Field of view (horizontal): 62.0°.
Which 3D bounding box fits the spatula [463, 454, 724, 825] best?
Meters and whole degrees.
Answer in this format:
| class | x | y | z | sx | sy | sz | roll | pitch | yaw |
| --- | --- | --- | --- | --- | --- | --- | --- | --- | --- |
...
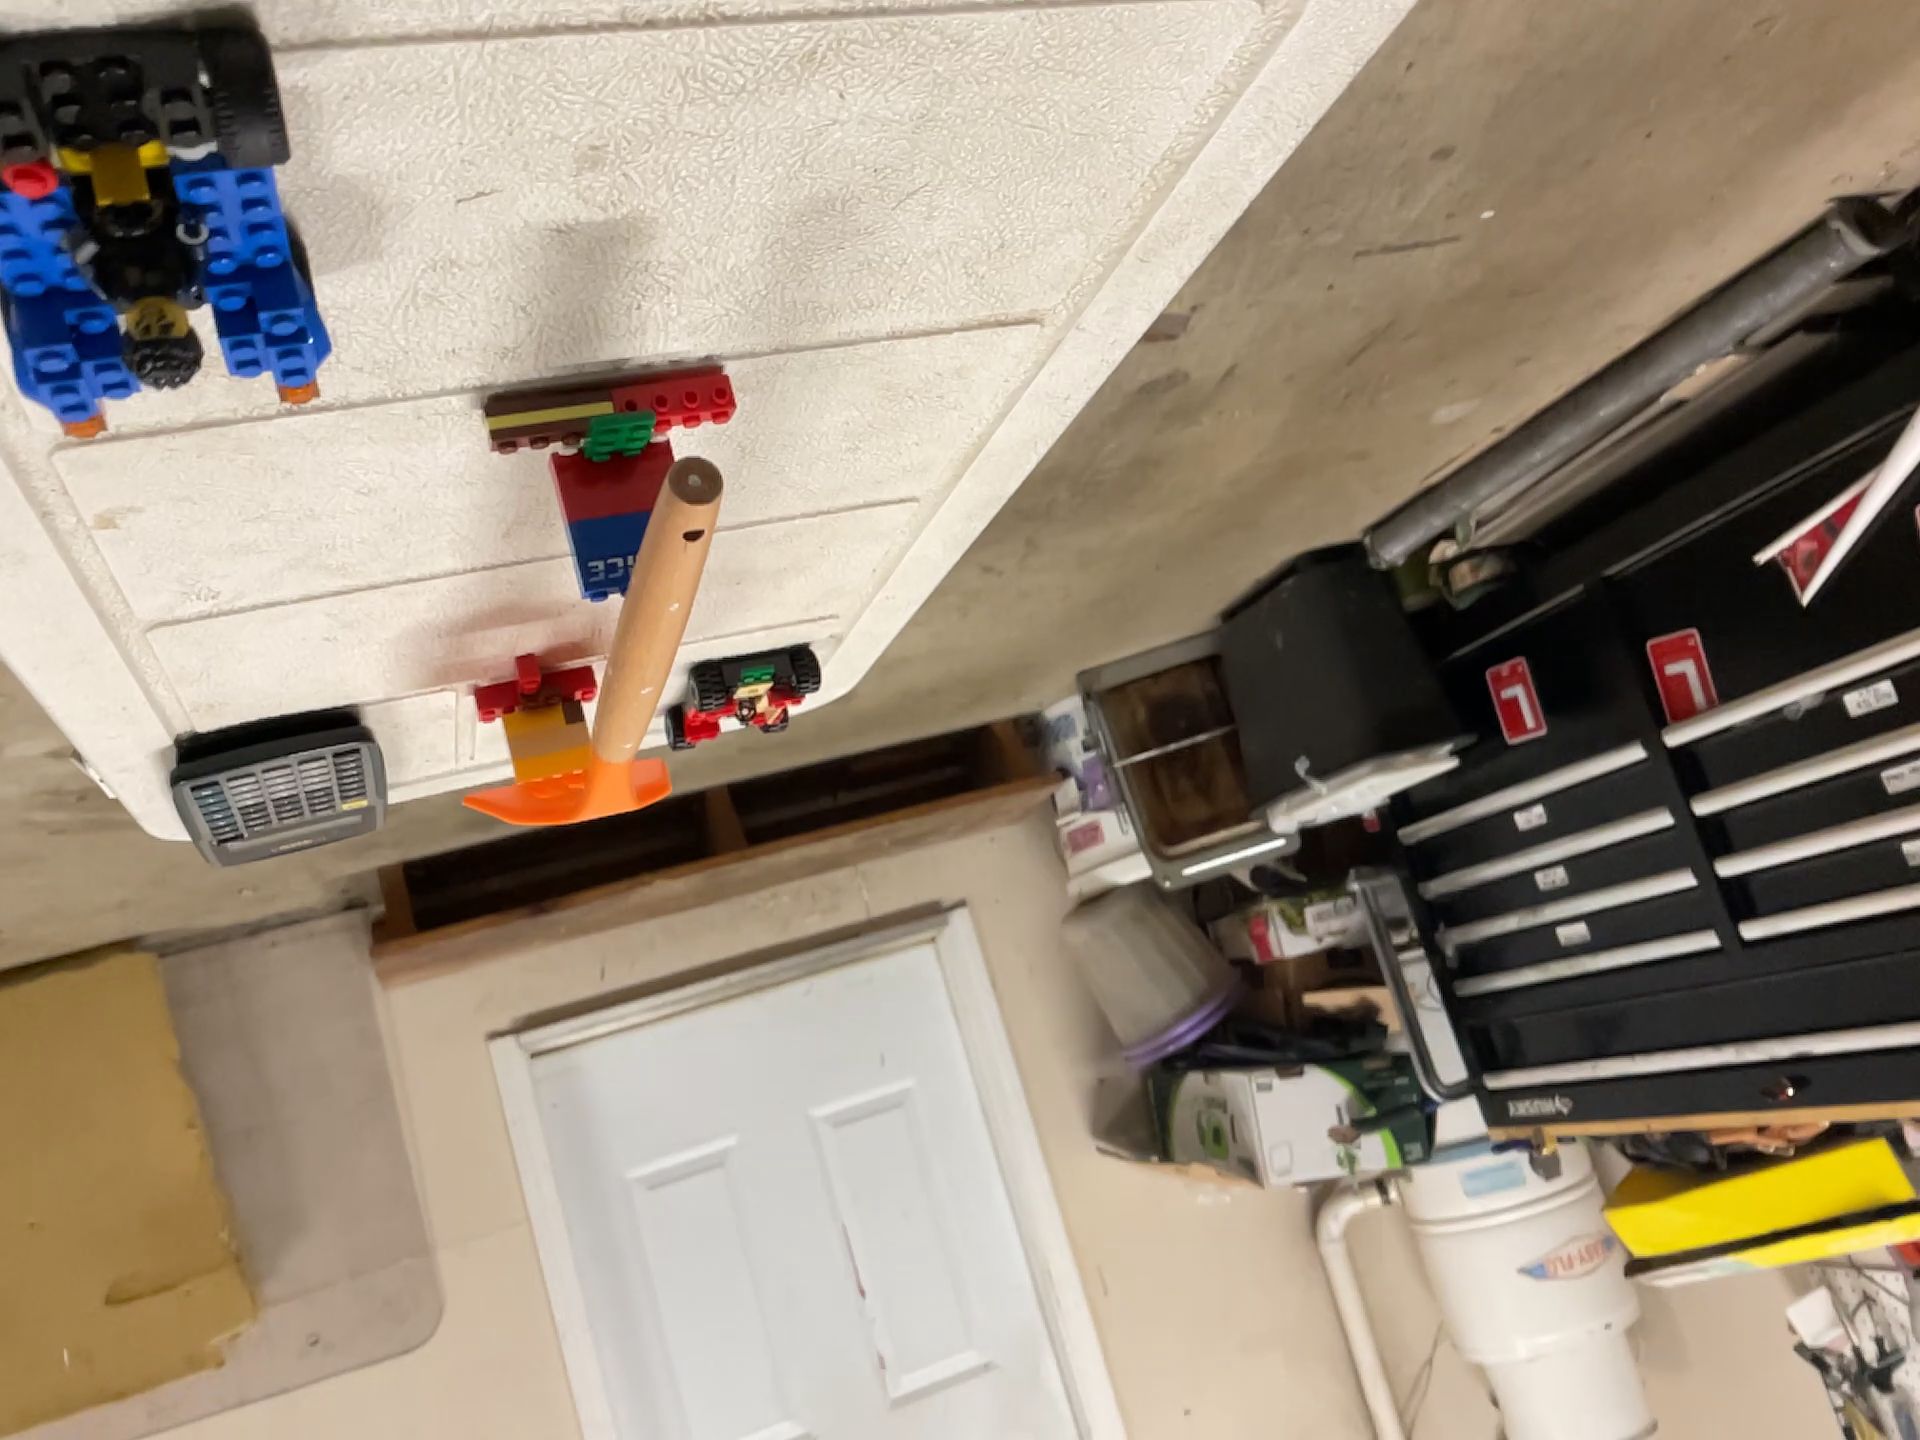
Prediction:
| class | x | y | z | sx | sy | sz | roll | pitch | yaw |
| --- | --- | --- | --- | --- | --- | --- | --- | --- | --- |
| spatula | -0.109 | -0.010 | 0.500 | 0.081 | 0.041 | 0.322 | -12 | 165 | -22 |
